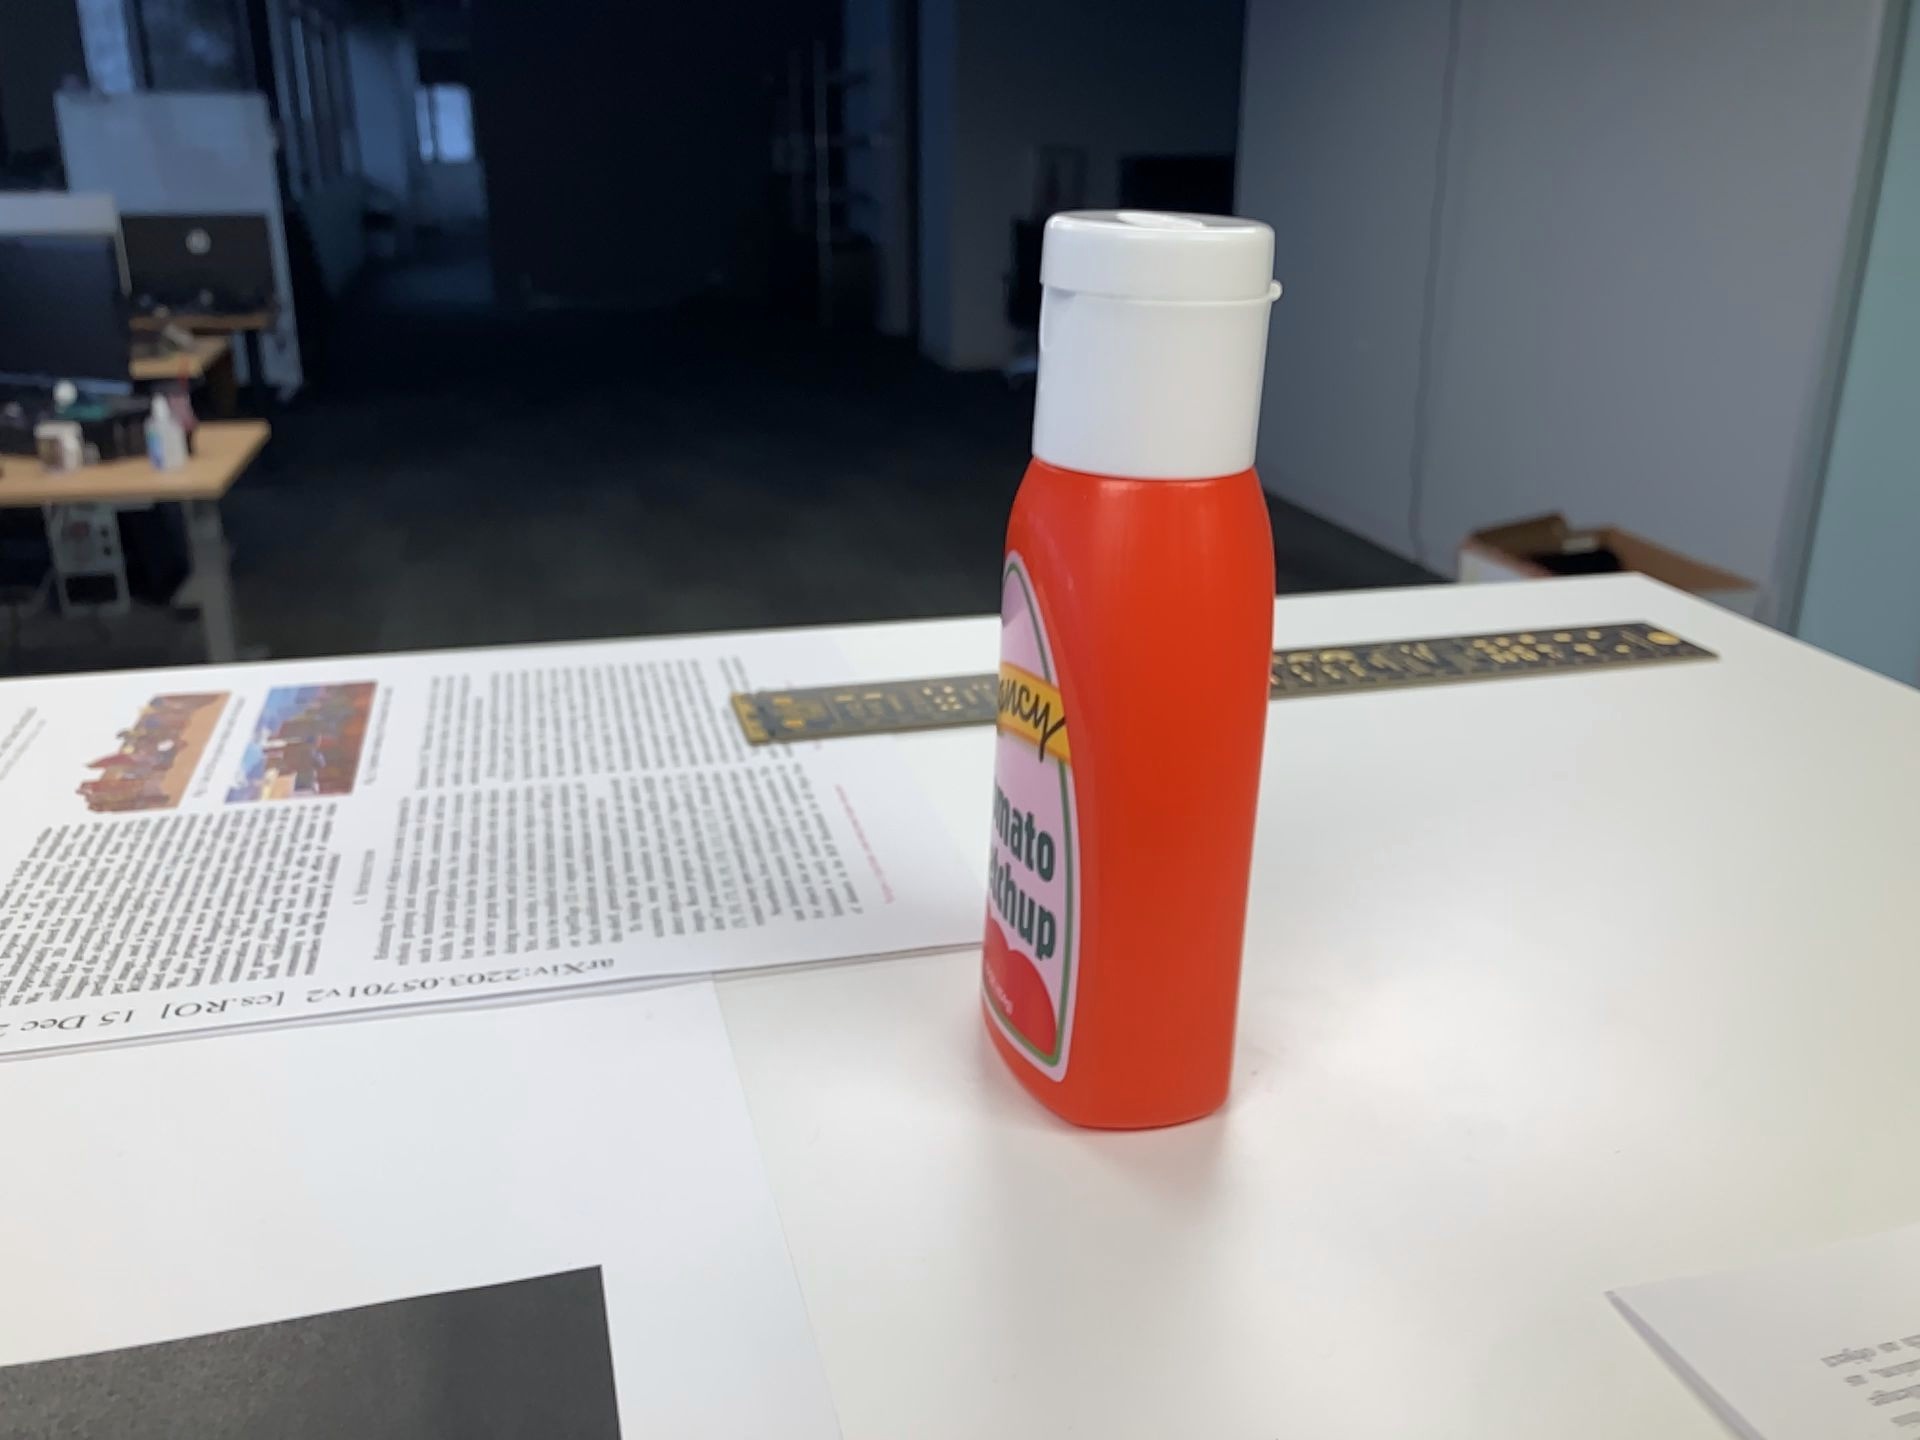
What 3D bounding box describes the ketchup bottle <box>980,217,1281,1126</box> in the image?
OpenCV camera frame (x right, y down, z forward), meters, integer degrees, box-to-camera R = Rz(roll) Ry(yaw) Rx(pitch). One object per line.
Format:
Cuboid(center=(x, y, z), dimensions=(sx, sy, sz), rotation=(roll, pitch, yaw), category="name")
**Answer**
Cuboid(center=(0.029, -0.009, 0.278), dimensions=(0.043, 0.149, 0.065), rotation=(-3, 20, -14), category="ketchup bottle")
